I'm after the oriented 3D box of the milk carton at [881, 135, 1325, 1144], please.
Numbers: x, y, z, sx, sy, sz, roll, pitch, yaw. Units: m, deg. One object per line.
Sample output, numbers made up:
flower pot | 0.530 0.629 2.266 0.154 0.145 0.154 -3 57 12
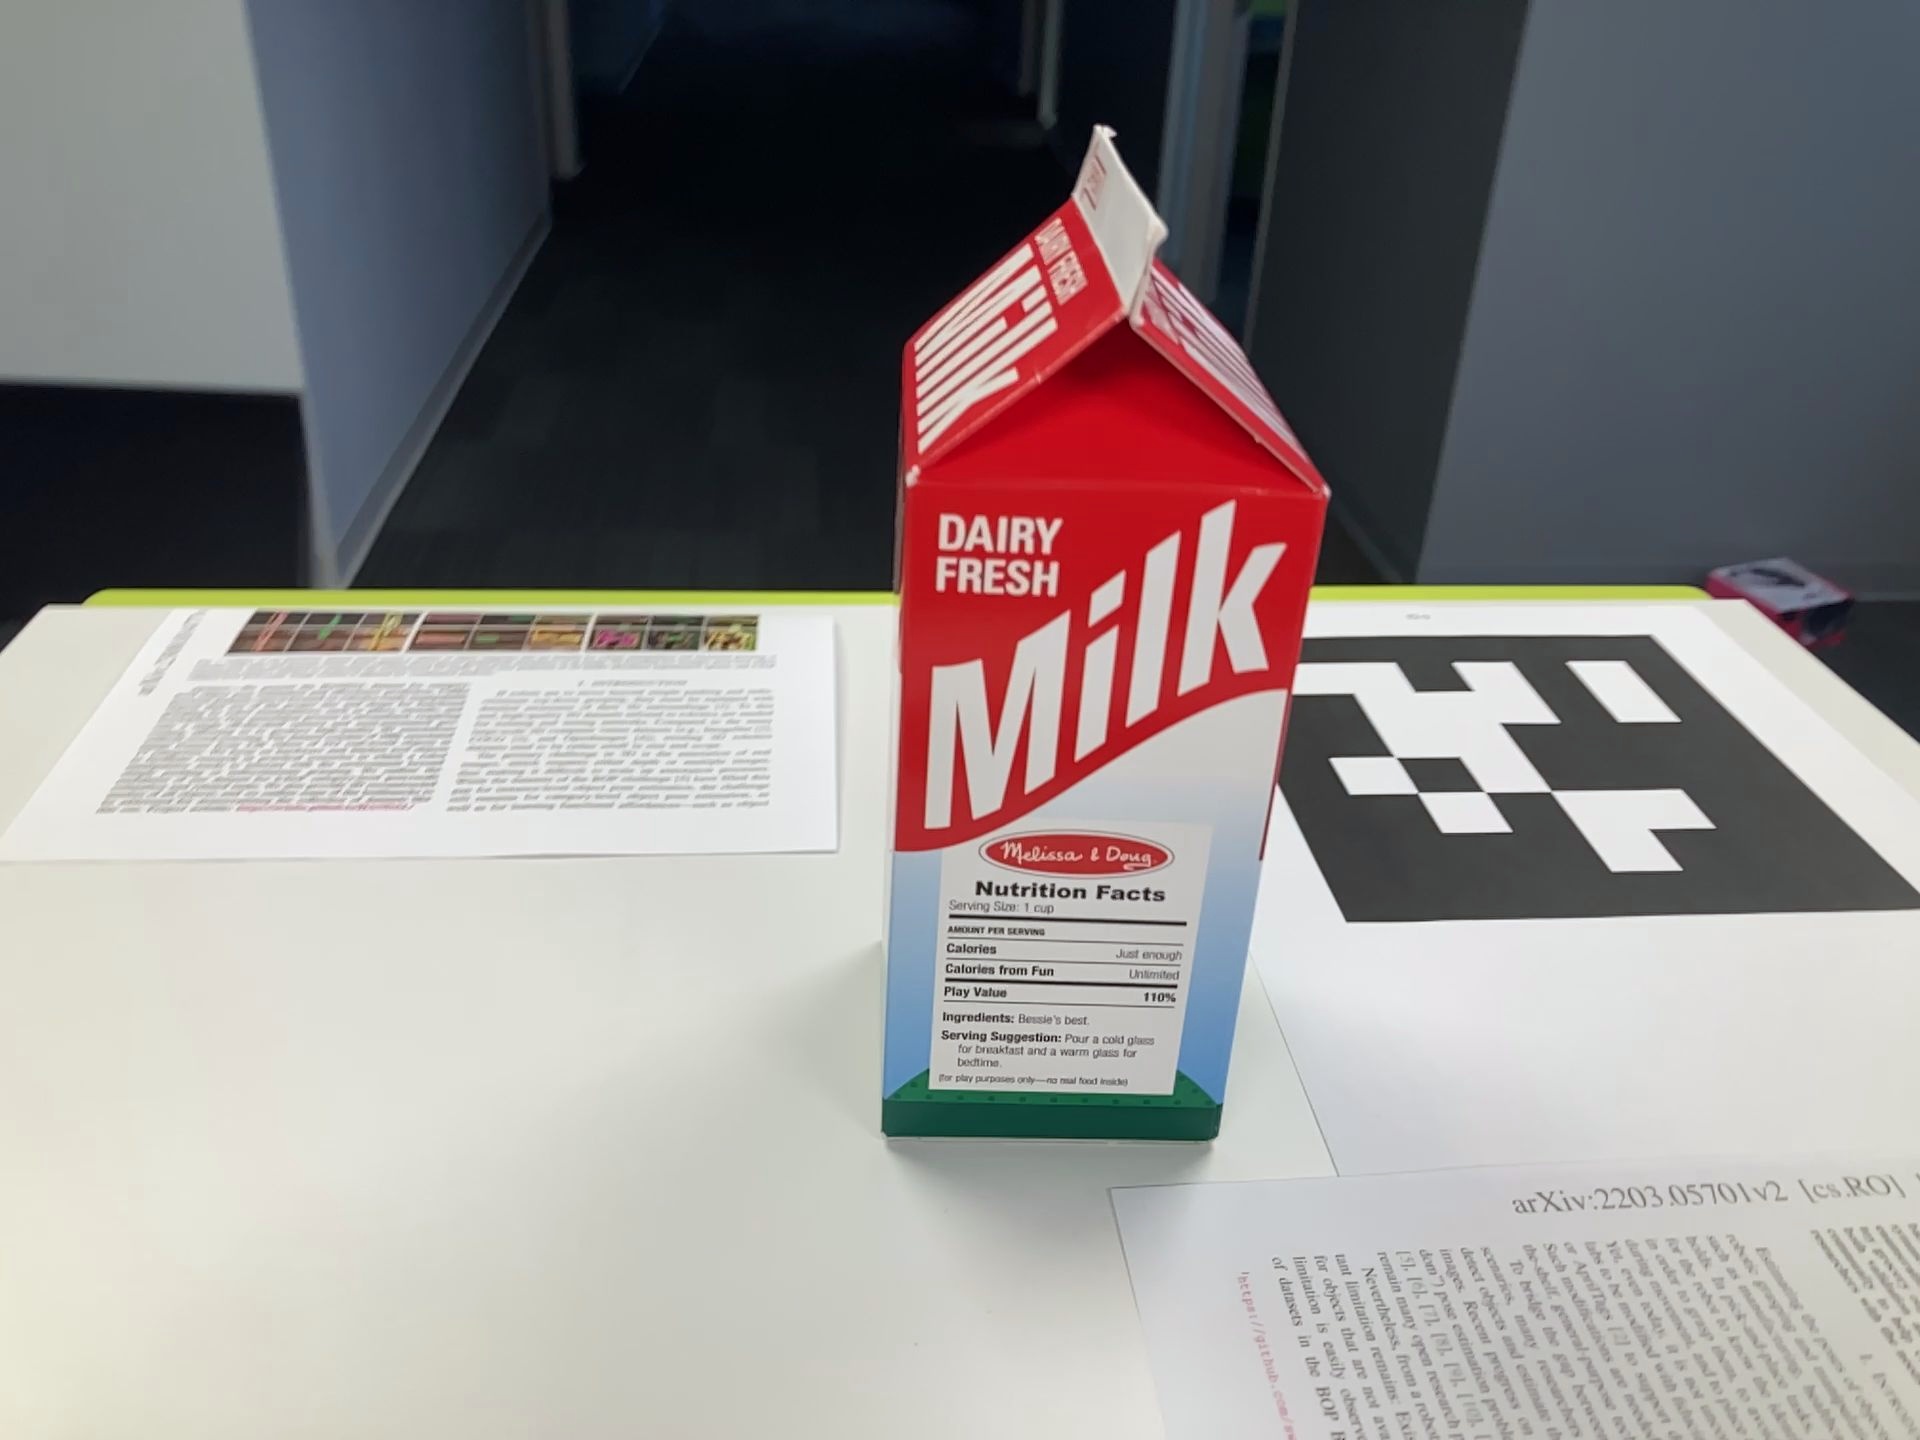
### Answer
milk carton | 0.022 -0.010 0.316 0.073 0.190 0.072 1 30 -3
